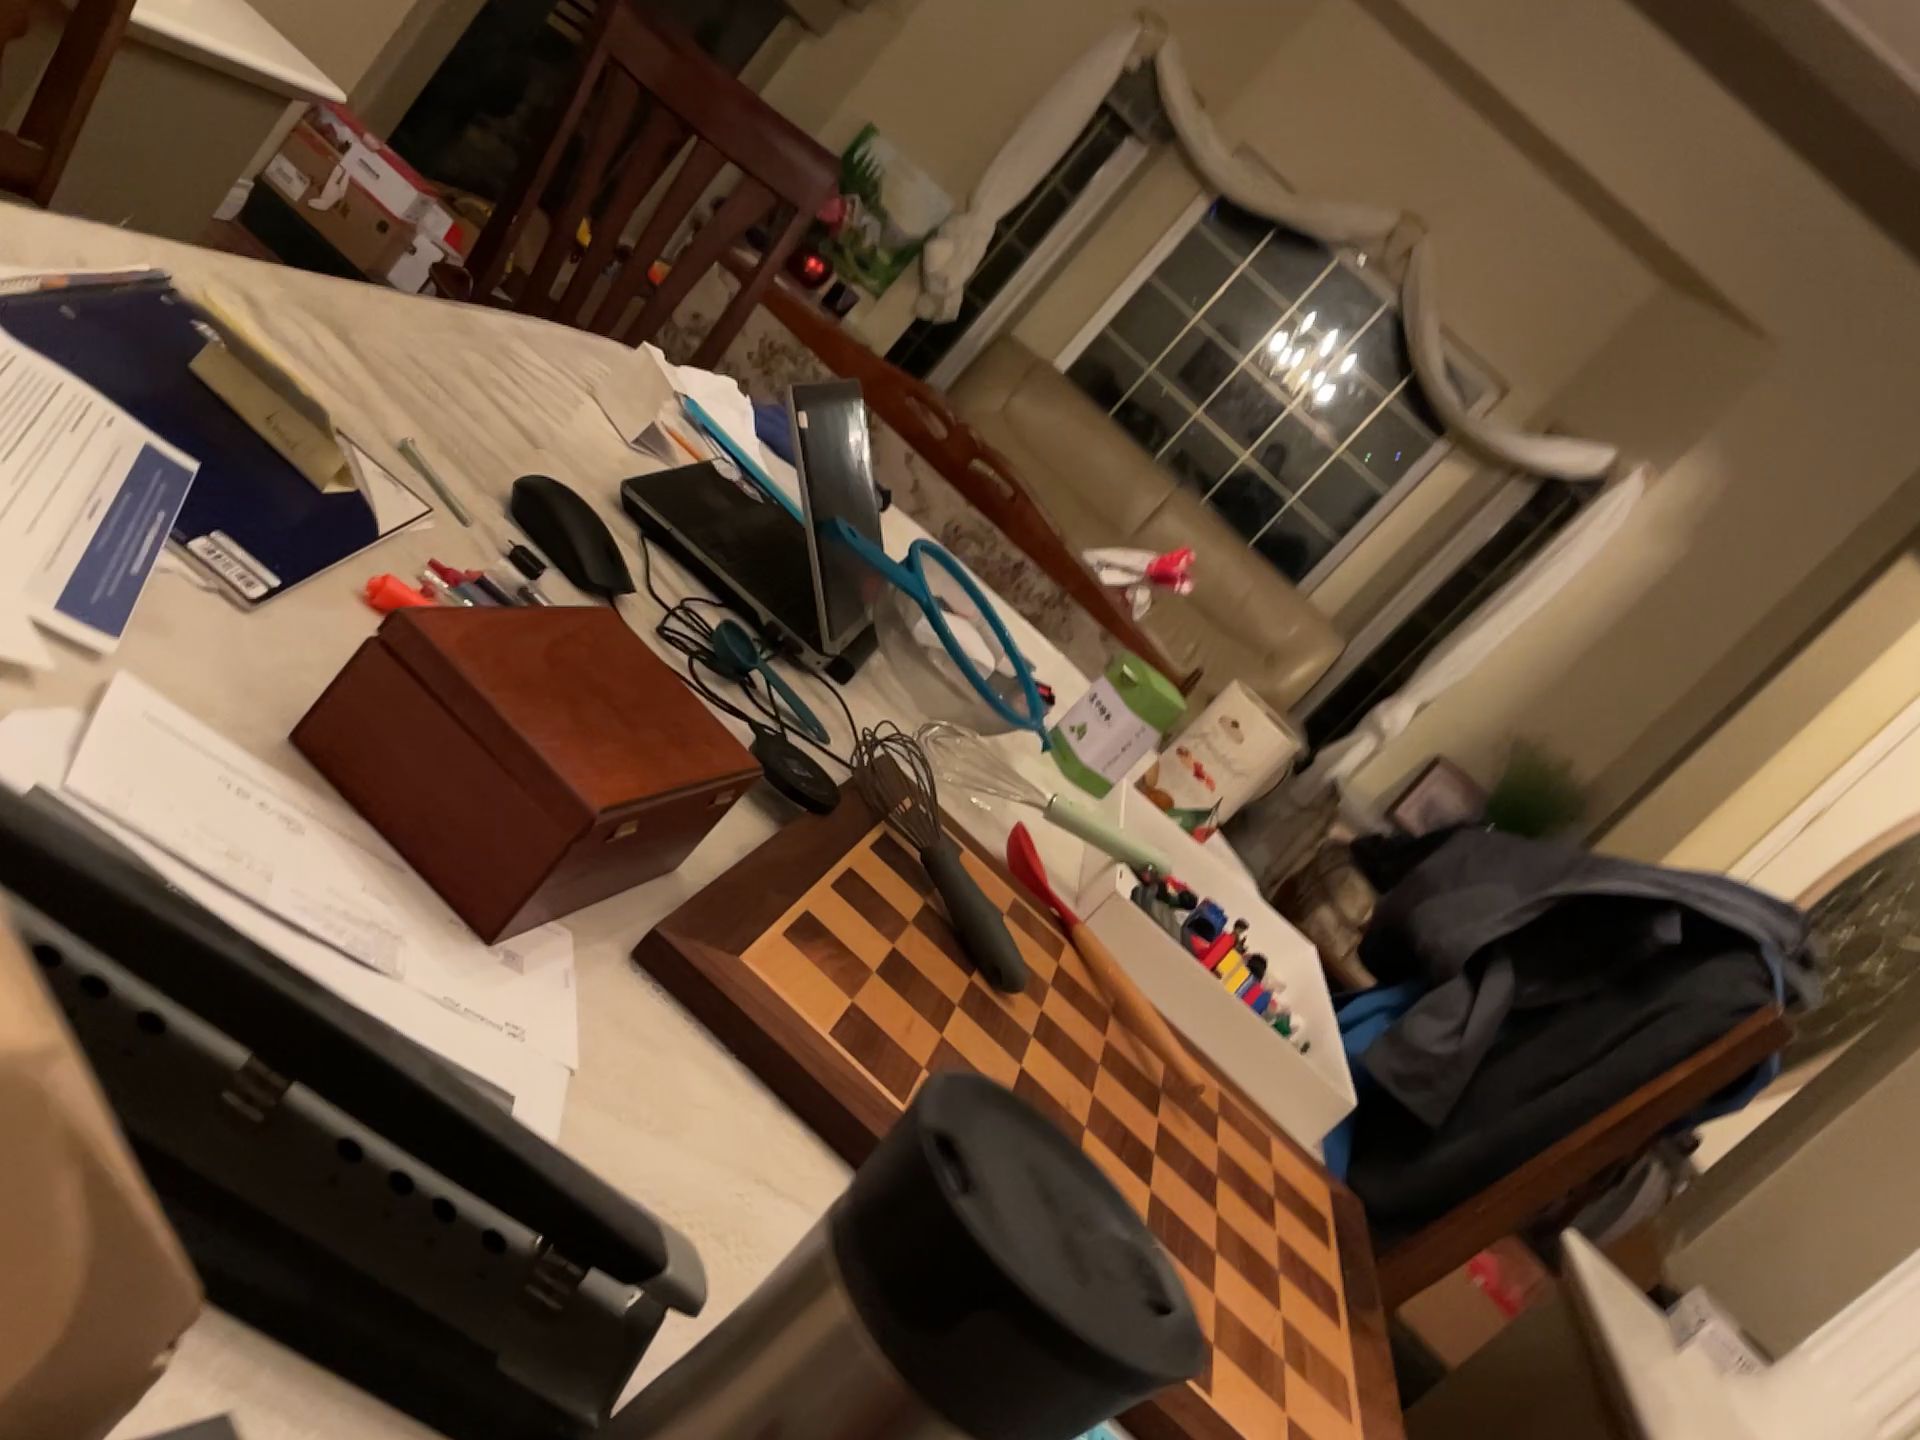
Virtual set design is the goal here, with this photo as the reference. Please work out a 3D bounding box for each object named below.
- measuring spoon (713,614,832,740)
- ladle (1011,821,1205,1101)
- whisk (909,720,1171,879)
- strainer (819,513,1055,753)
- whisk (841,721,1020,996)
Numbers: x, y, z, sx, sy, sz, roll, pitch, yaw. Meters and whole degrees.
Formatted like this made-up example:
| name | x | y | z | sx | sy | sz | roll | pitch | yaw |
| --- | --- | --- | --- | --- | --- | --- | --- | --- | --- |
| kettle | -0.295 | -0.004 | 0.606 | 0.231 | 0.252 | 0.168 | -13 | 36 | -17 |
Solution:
| name | x | y | z | sx | sy | sz | roll | pitch | yaw |
| --- | --- | --- | --- | --- | --- | --- | --- | --- | --- |
| measuring spoon | -0.141 | -0.025 | 1.178 | 0.128 | 0.021 | 0.042 | 50 | 16 | -27 |
| ladle | 0.101 | 0.171 | 1.163 | 0.069 | 0.031 | 0.316 | 60 | -4 | -35 |
| whisk | 0.067 | 0.067 | 1.333 | 0.246 | 0.058 | 0.059 | 29 | 43 | 1 |
| strainer | -0.049 | -0.081 | 1.425 | 0.340 | 0.095 | 0.211 | 34 | 28 | -52 |
| whisk | -0.019 | 0.088 | 1.055 | 0.055 | 0.055 | 0.239 | 11 | 36 | -41 |
